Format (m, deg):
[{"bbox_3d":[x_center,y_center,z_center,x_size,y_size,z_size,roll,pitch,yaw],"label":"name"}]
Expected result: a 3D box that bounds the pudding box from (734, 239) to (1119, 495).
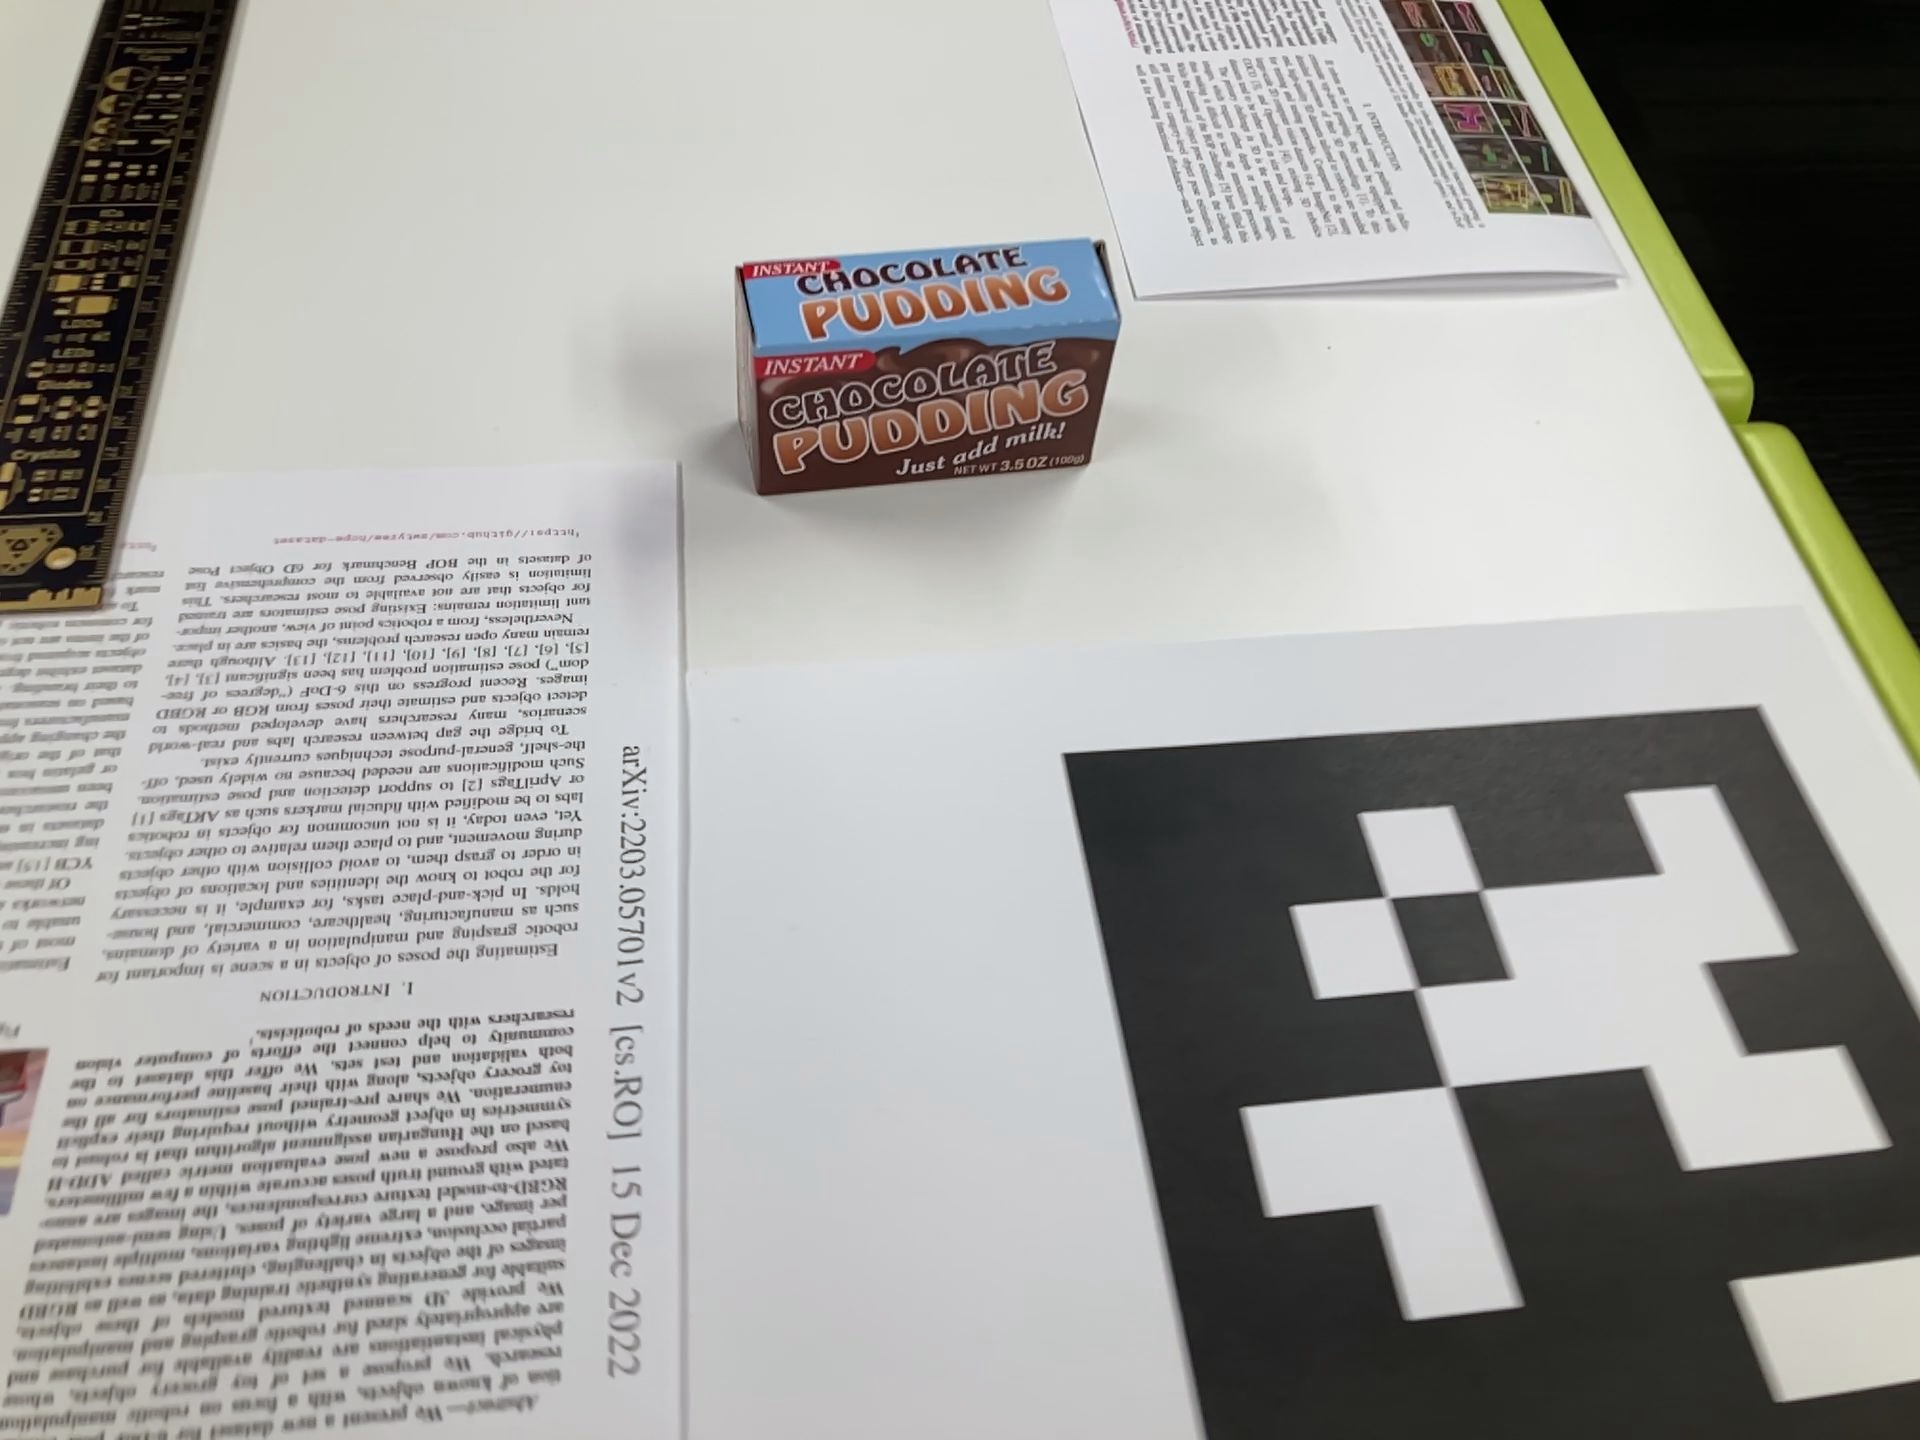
[{"bbox_3d":[-0.009,-0.082,0.369,0.083,0.049,0.030,-6,57,-10],"label":"pudding box"}]
